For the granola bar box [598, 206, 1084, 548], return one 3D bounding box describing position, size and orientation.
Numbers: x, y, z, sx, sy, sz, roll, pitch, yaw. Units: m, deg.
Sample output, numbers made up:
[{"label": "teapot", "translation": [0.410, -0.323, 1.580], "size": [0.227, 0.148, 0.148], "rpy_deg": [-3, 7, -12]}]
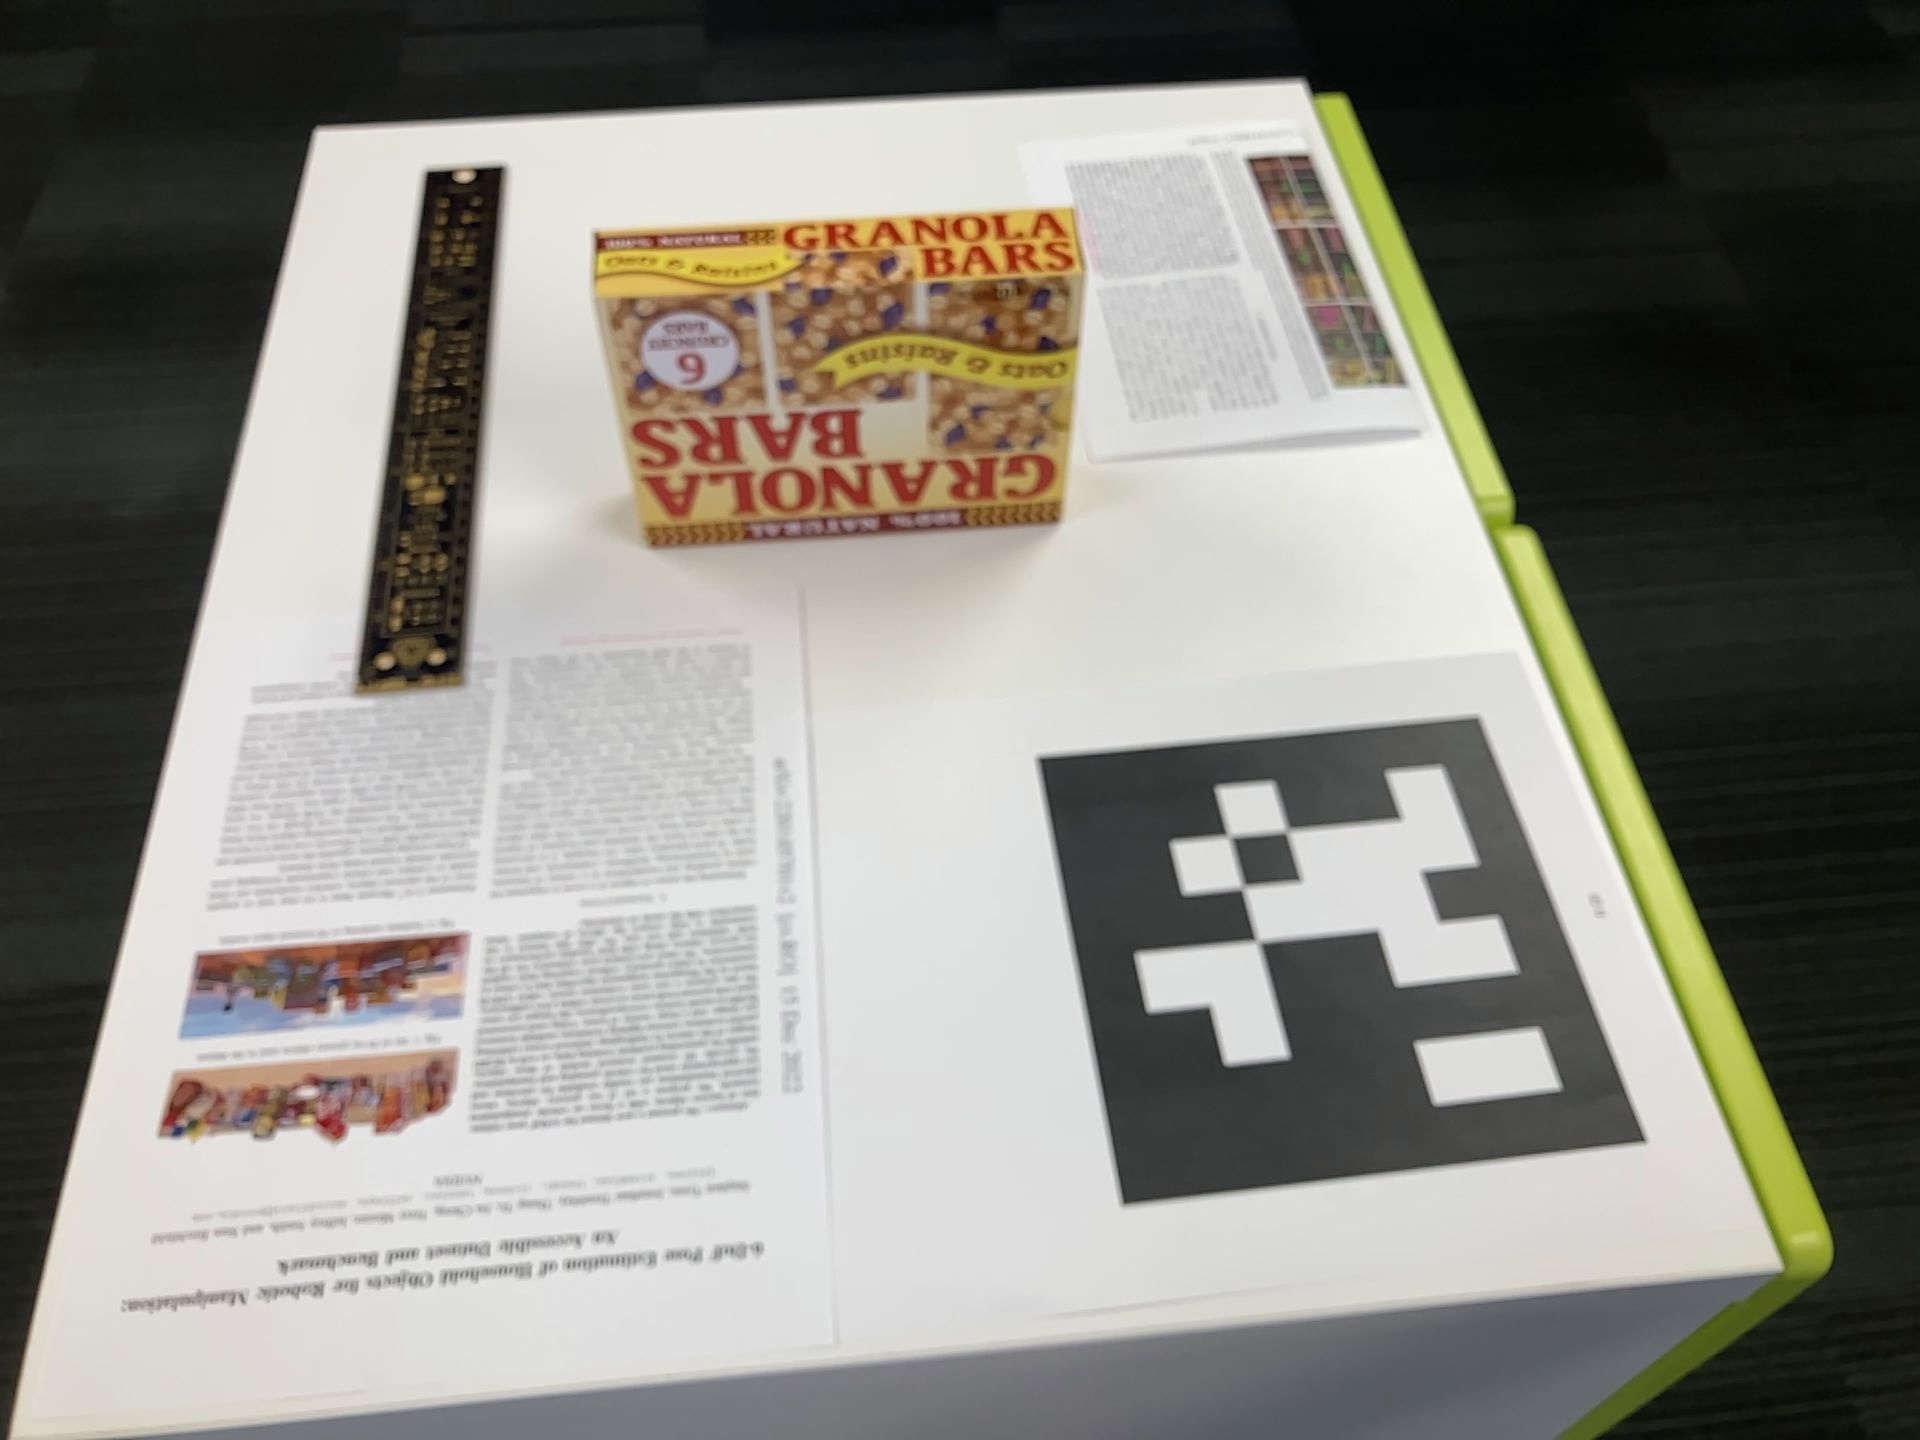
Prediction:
[{"label": "granola bar box", "translation": [-0.041, -0.123, 0.593], "size": [0.165, 0.124, 0.039], "rpy_deg": [-4, 54, -3]}]
